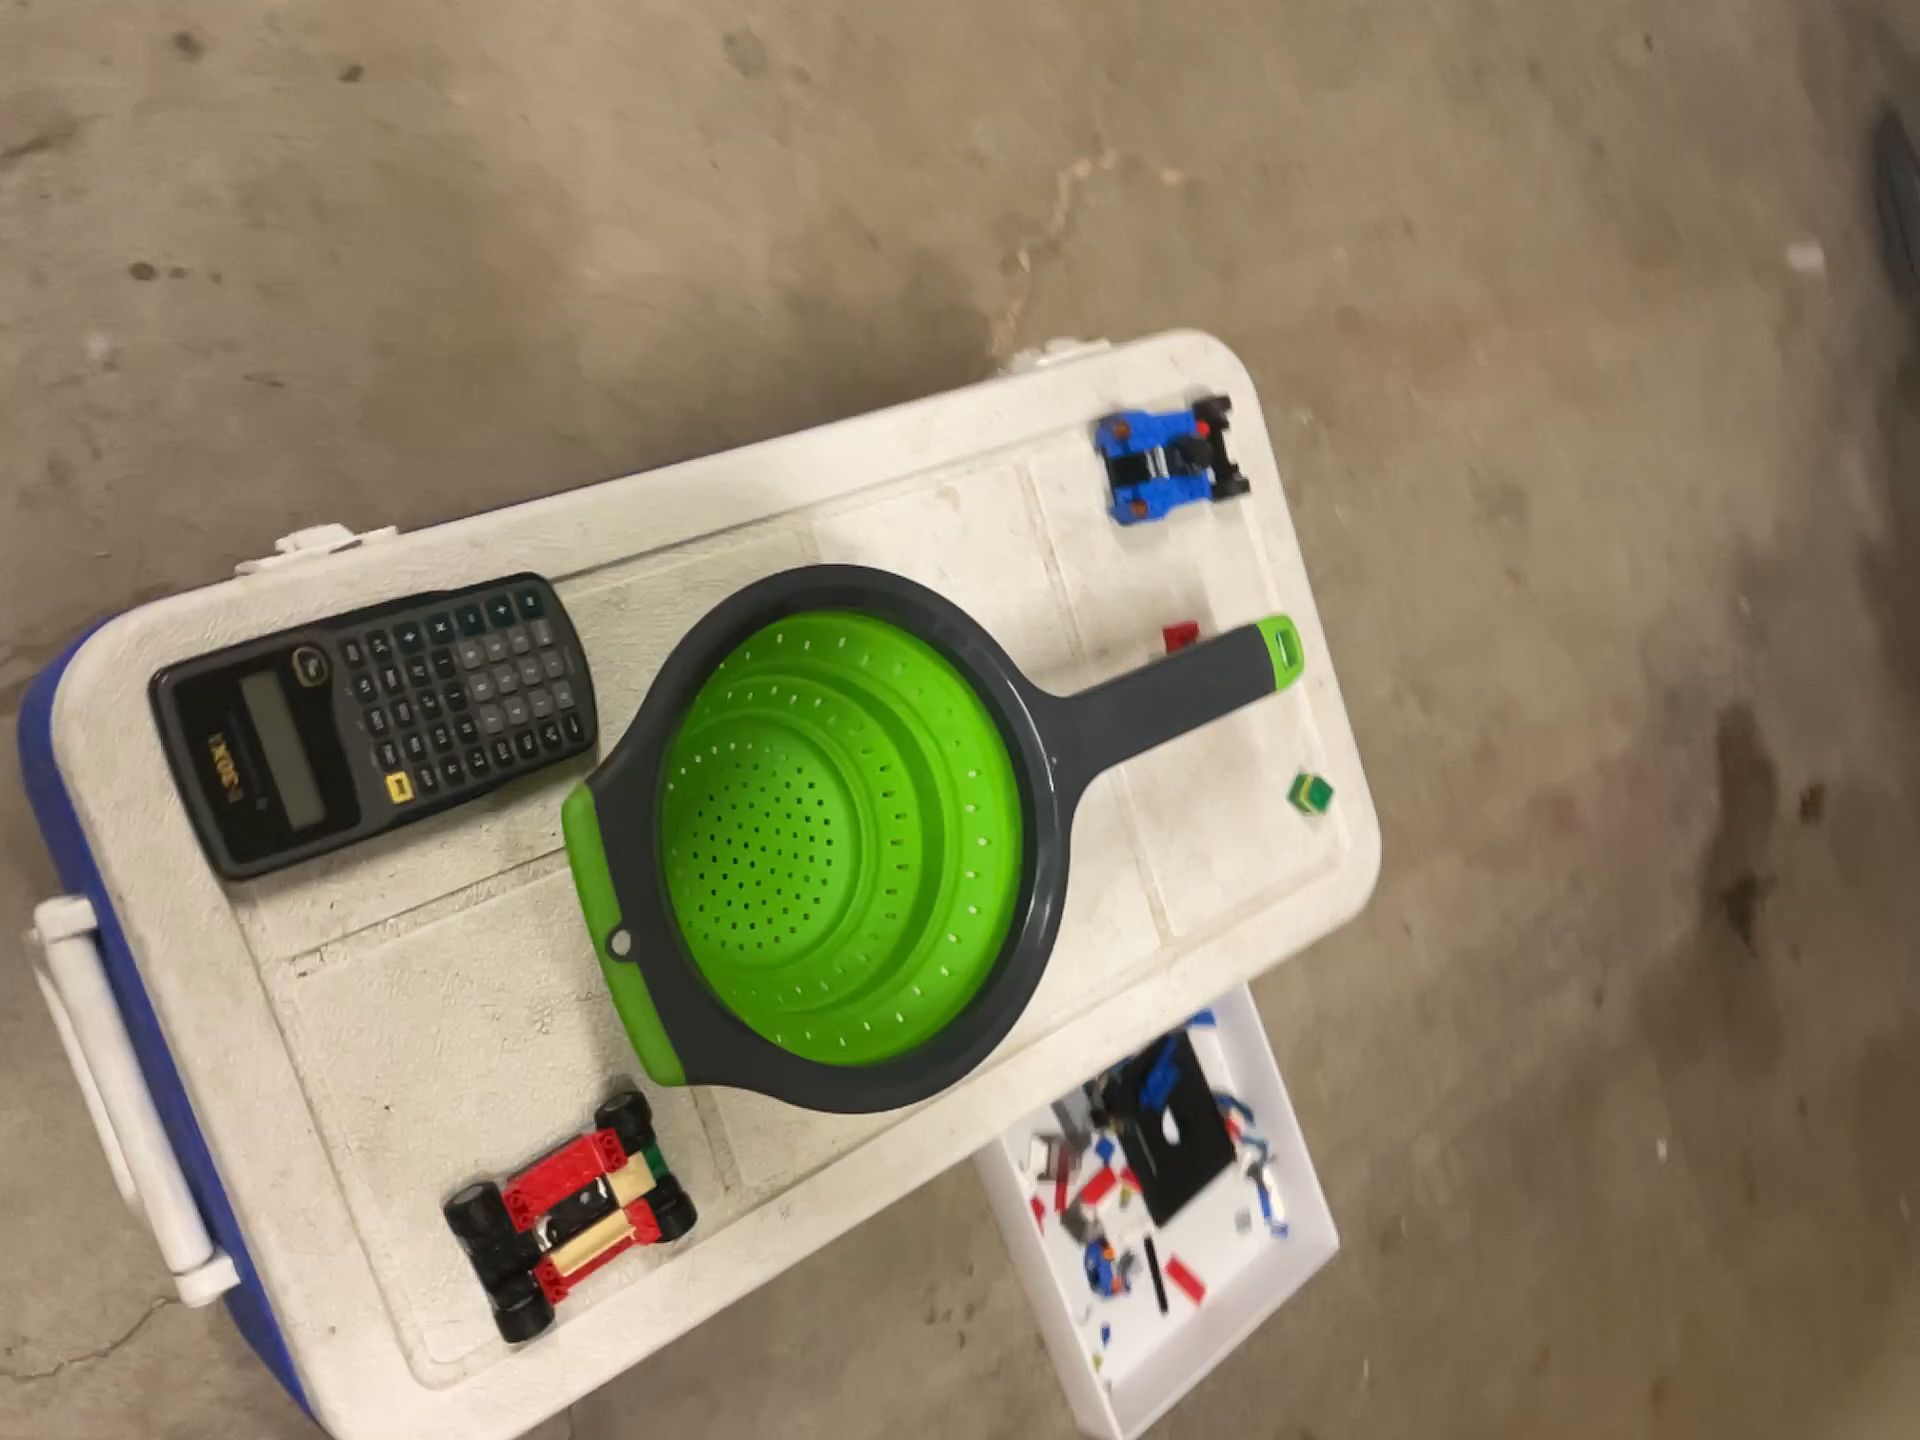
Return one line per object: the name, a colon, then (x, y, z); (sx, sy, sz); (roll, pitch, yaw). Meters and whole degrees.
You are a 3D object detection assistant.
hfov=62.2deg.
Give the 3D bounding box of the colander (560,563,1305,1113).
colander: (0.000, 0.024, 0.678); (0.398, 0.094, 0.204); (-21, 95, -39)
